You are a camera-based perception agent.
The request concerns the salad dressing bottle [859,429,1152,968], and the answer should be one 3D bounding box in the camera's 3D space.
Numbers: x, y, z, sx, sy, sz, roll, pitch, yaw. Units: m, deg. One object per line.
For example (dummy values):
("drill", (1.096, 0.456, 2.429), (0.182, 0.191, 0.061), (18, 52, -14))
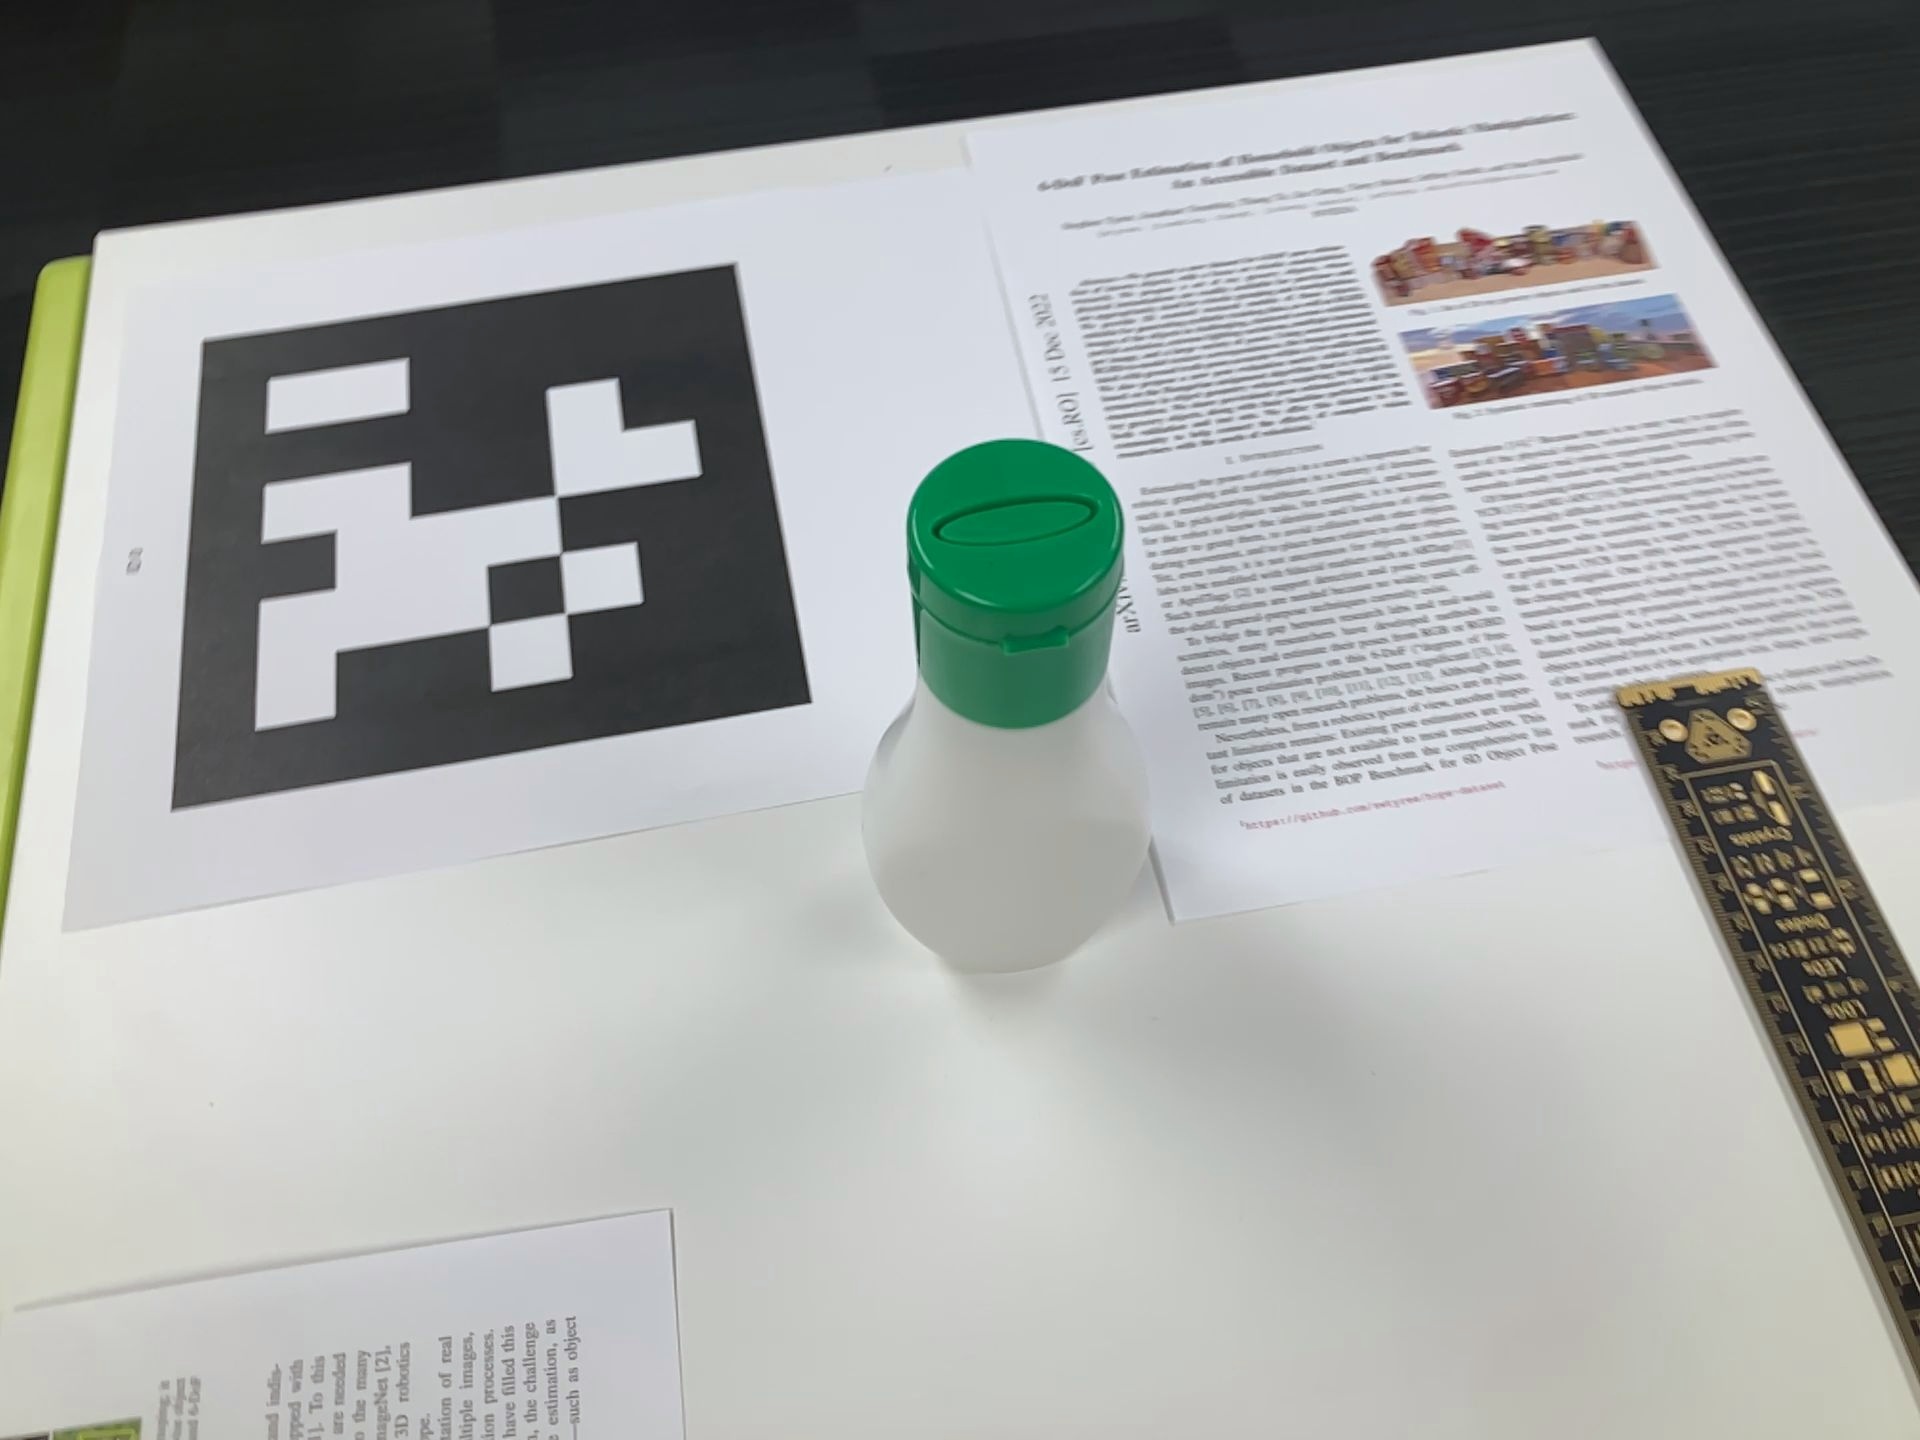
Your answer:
("salad dressing bottle", (0.010, 0.003, 0.320), (0.064, 0.147, 0.044), (-9, 60, -5))
